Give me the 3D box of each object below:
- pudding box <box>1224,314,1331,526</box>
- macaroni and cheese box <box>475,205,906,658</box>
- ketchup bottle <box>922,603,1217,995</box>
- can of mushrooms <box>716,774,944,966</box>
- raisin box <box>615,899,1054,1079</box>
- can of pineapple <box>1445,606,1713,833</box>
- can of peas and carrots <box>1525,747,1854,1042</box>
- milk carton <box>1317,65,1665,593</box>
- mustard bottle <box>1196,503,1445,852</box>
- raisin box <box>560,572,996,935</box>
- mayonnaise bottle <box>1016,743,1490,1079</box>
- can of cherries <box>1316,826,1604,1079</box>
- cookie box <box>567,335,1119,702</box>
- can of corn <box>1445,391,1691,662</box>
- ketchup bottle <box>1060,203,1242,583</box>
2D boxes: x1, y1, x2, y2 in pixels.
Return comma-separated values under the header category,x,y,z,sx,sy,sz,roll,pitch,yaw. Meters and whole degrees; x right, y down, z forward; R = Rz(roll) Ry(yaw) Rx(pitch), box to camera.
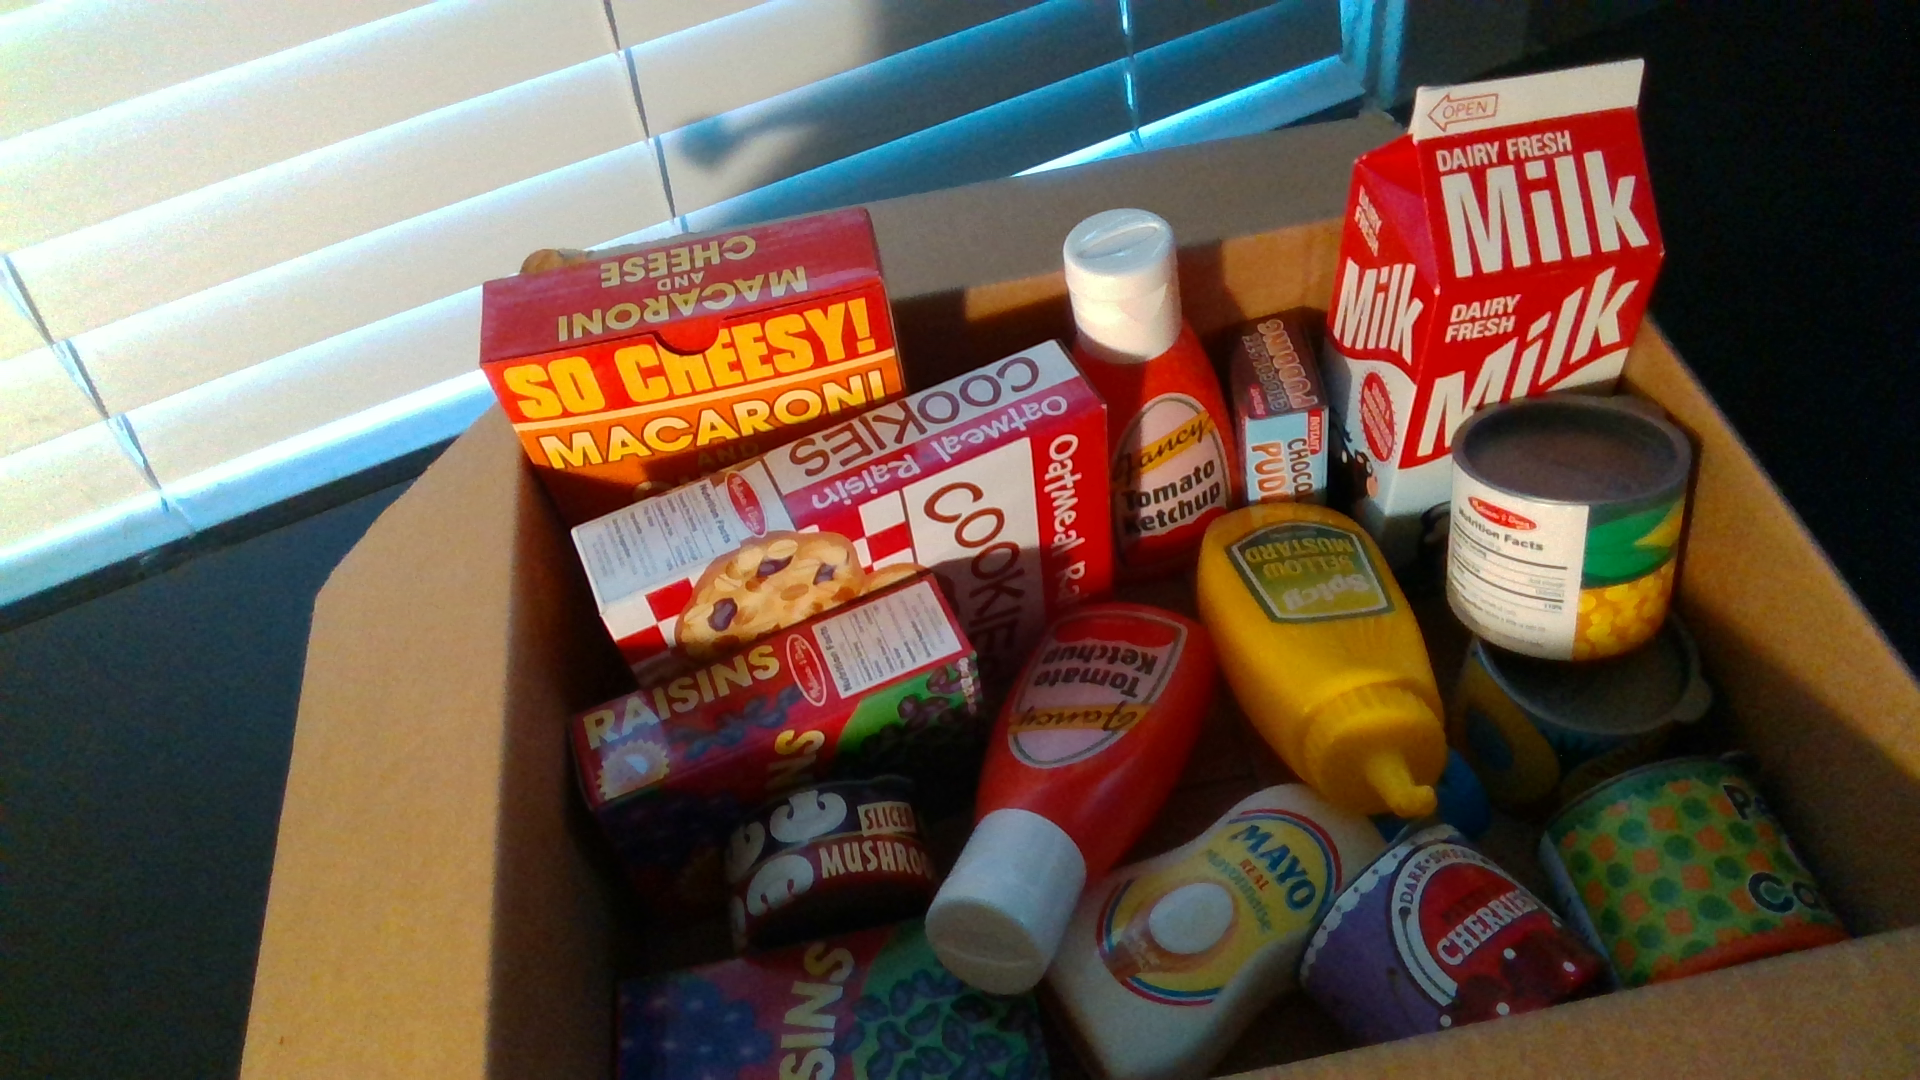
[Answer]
category,x,y,z,sx,sy,sz,roll,pitch,yaw
pudding box,0.116,-0.036,0.513,0.030,0.083,0.050,-9,51,4
macaroni and cheese box,-0.077,-0.028,0.479,0.124,0.165,0.040,-12,54,-3
ketchup bottle,0.034,0.075,0.433,0.065,0.043,0.149,2,29,24
can of mushrooms,-0.038,0.104,0.427,0.071,0.070,0.033,-14,51,-5
raisin box,-0.034,0.159,0.398,0.123,0.039,0.086,-11,47,-1
can of pineapple,0.196,0.054,0.449,0.071,0.057,0.071,-2,45,2
can of peas and carrots,0.210,0.102,0.400,0.071,0.070,0.059,-12,51,-3
milk carton,0.170,-0.069,0.467,0.072,0.189,0.074,-10,50,-4
mustard bottle,0.119,0.041,0.443,0.065,0.048,0.161,-7,28,-1
raisin box,-0.053,0.071,0.447,0.123,0.085,0.040,-21,51,-10
mayonnaise bottle,0.093,0.108,0.424,0.148,0.041,0.065,-28,49,-16
can of cherries,0.149,0.129,0.419,0.072,0.071,0.058,-31,50,-18
cookie box,-0.029,0.013,0.467,0.168,0.122,0.040,-23,52,-11
can of corn,0.187,-0.006,0.429,0.071,0.058,0.071,-7,33,5
ketchup bottle,0.063,-0.048,0.487,0.065,0.148,0.044,-23,48,-4
